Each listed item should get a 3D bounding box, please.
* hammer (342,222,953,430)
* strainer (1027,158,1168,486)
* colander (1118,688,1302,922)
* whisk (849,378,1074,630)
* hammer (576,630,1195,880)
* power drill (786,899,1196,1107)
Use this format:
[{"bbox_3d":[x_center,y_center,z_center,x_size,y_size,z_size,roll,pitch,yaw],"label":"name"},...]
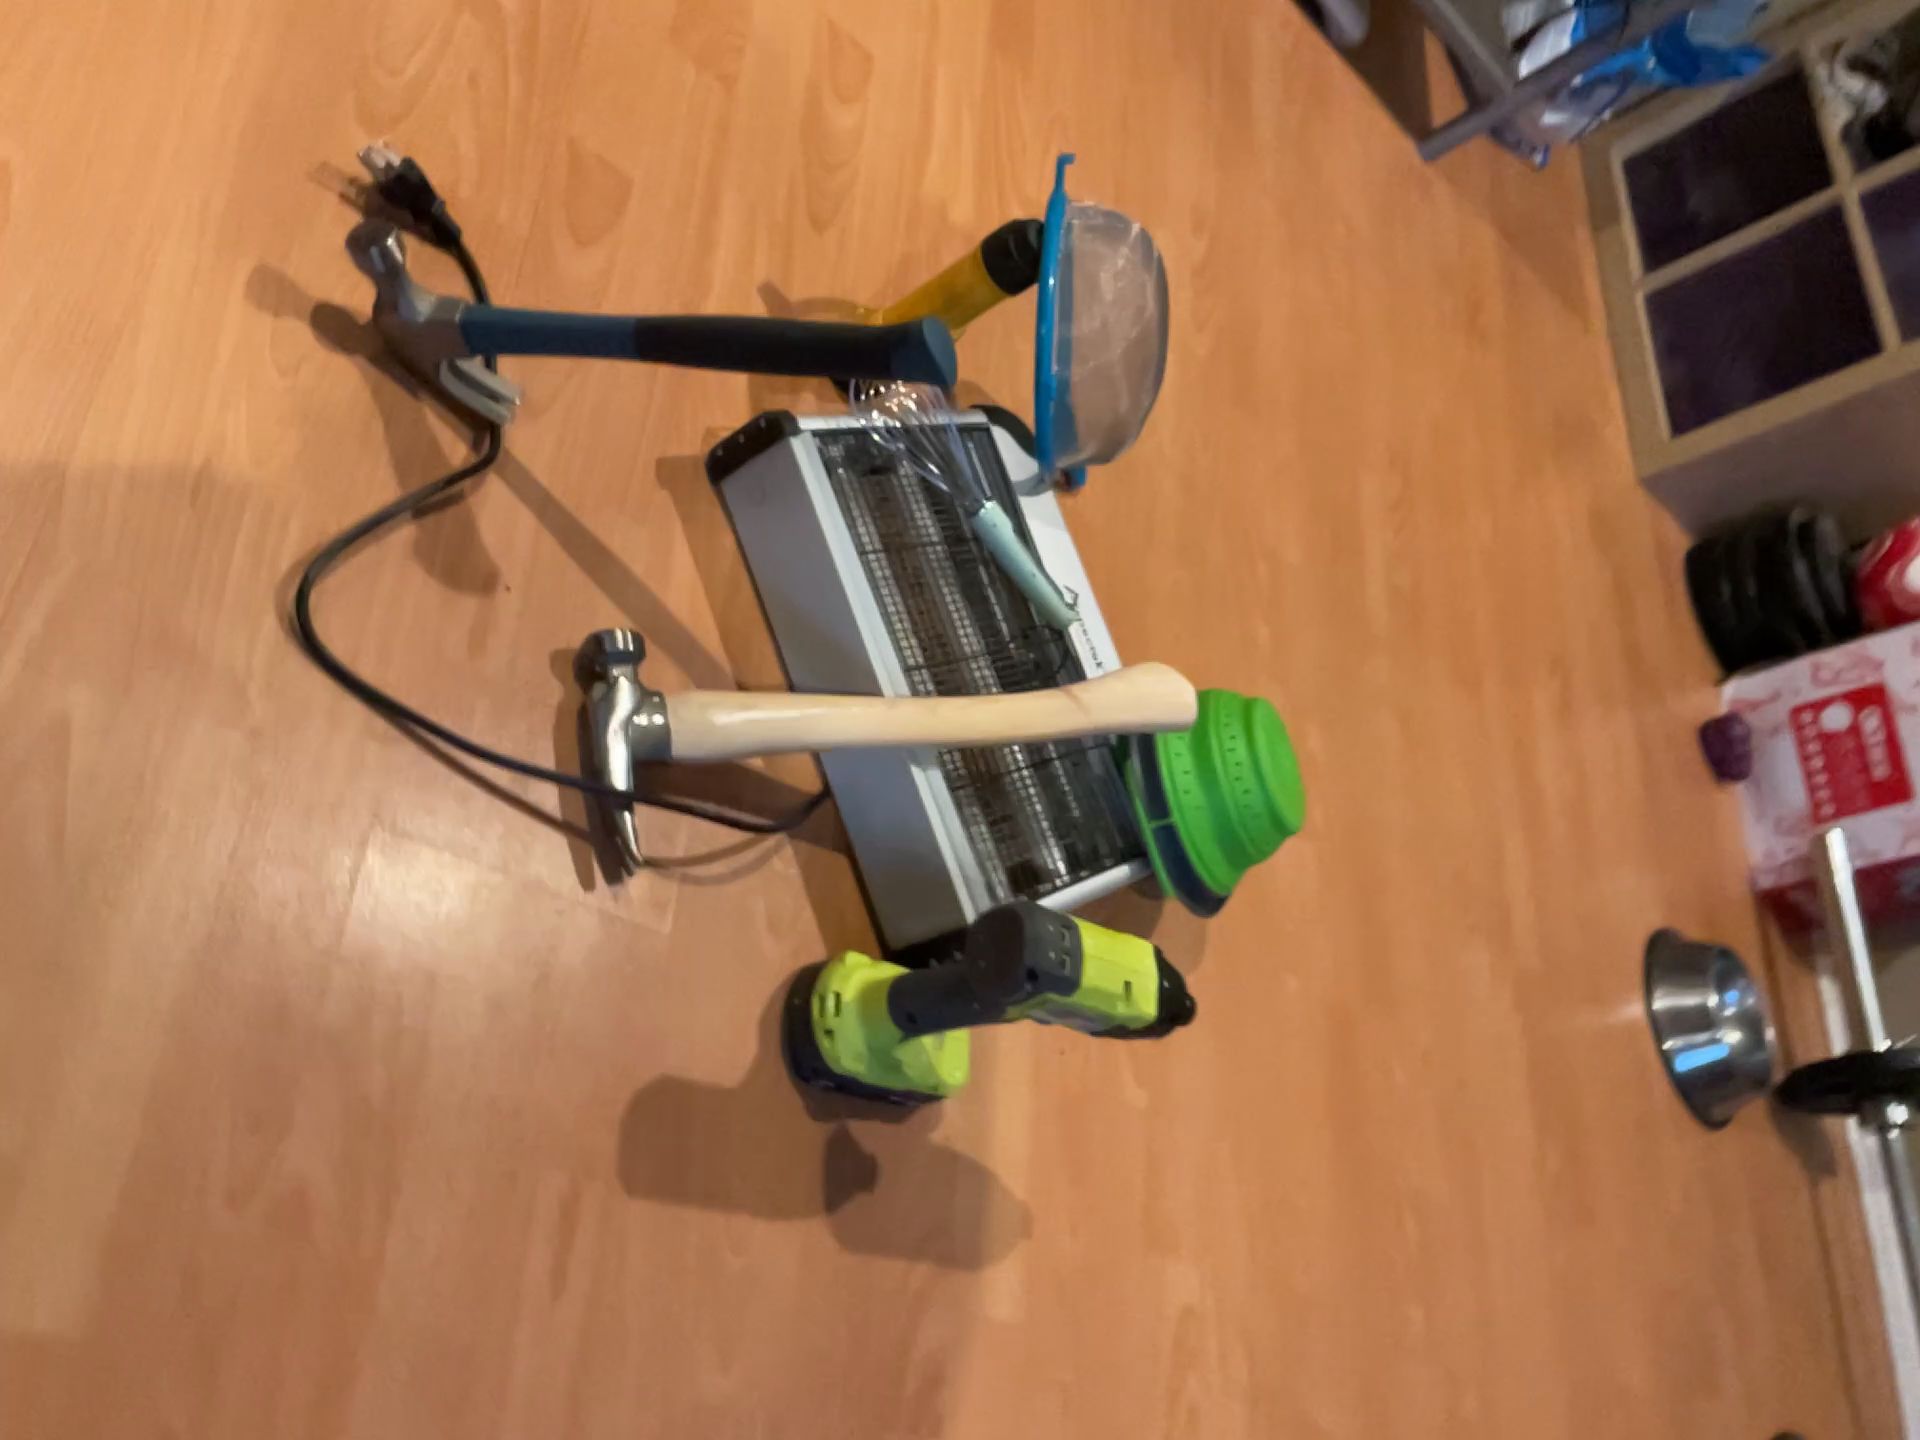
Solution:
[{"bbox_3d":[-0.169,-0.214,0.902,0.128,0.331,0.033,83,14,-55],"label":"hammer"},{"bbox_3d":[0.117,-0.263,1.255,0.340,0.095,0.211,62,32,-71],"label":"strainer"},{"bbox_3d":[0.230,0.027,1.311,0.204,0.094,0.397,70,22,-7],"label":"colander"},{"bbox_3d":[0.007,-0.156,1.131,0.246,0.059,0.058,50,13,-24],"label":"whisk"},{"bbox_3d":[-0.030,0.011,1.021,0.411,0.038,0.146,-3,72,-24],"label":"hammer"},{"bbox_3d":[0.018,0.175,0.969,0.171,0.223,0.080,25,55,-40],"label":"power drill"}]
